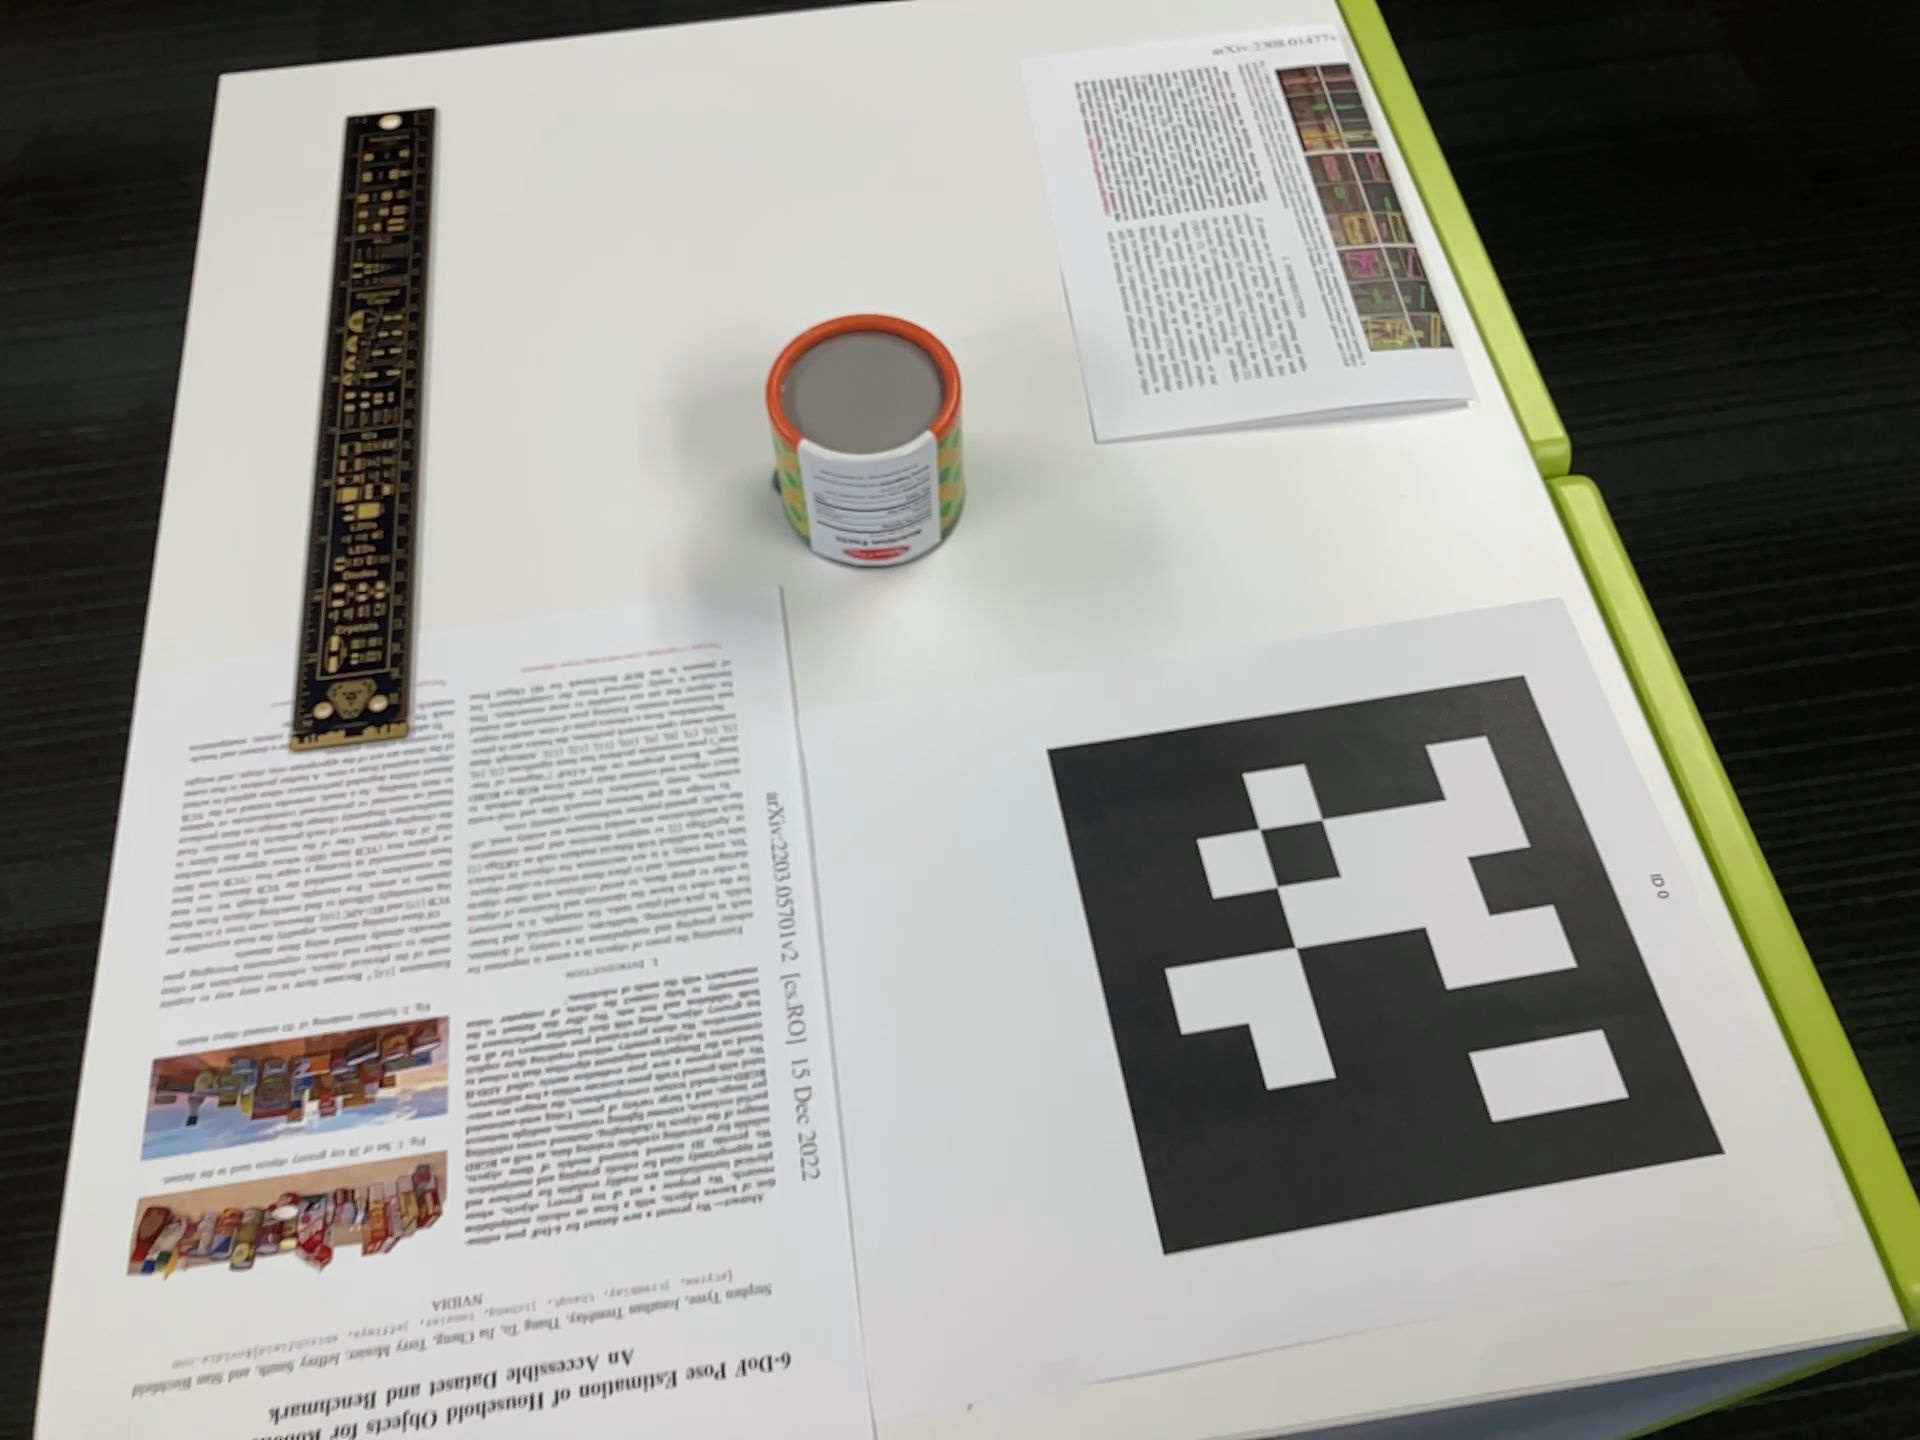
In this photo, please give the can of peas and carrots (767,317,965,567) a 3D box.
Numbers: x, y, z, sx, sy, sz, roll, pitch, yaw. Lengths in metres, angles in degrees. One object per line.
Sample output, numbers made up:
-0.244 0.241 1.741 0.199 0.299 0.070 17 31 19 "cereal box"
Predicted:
-0.032 -0.099 0.556 0.071 0.059 0.071 0 59 0 "can of peas and carrots"
